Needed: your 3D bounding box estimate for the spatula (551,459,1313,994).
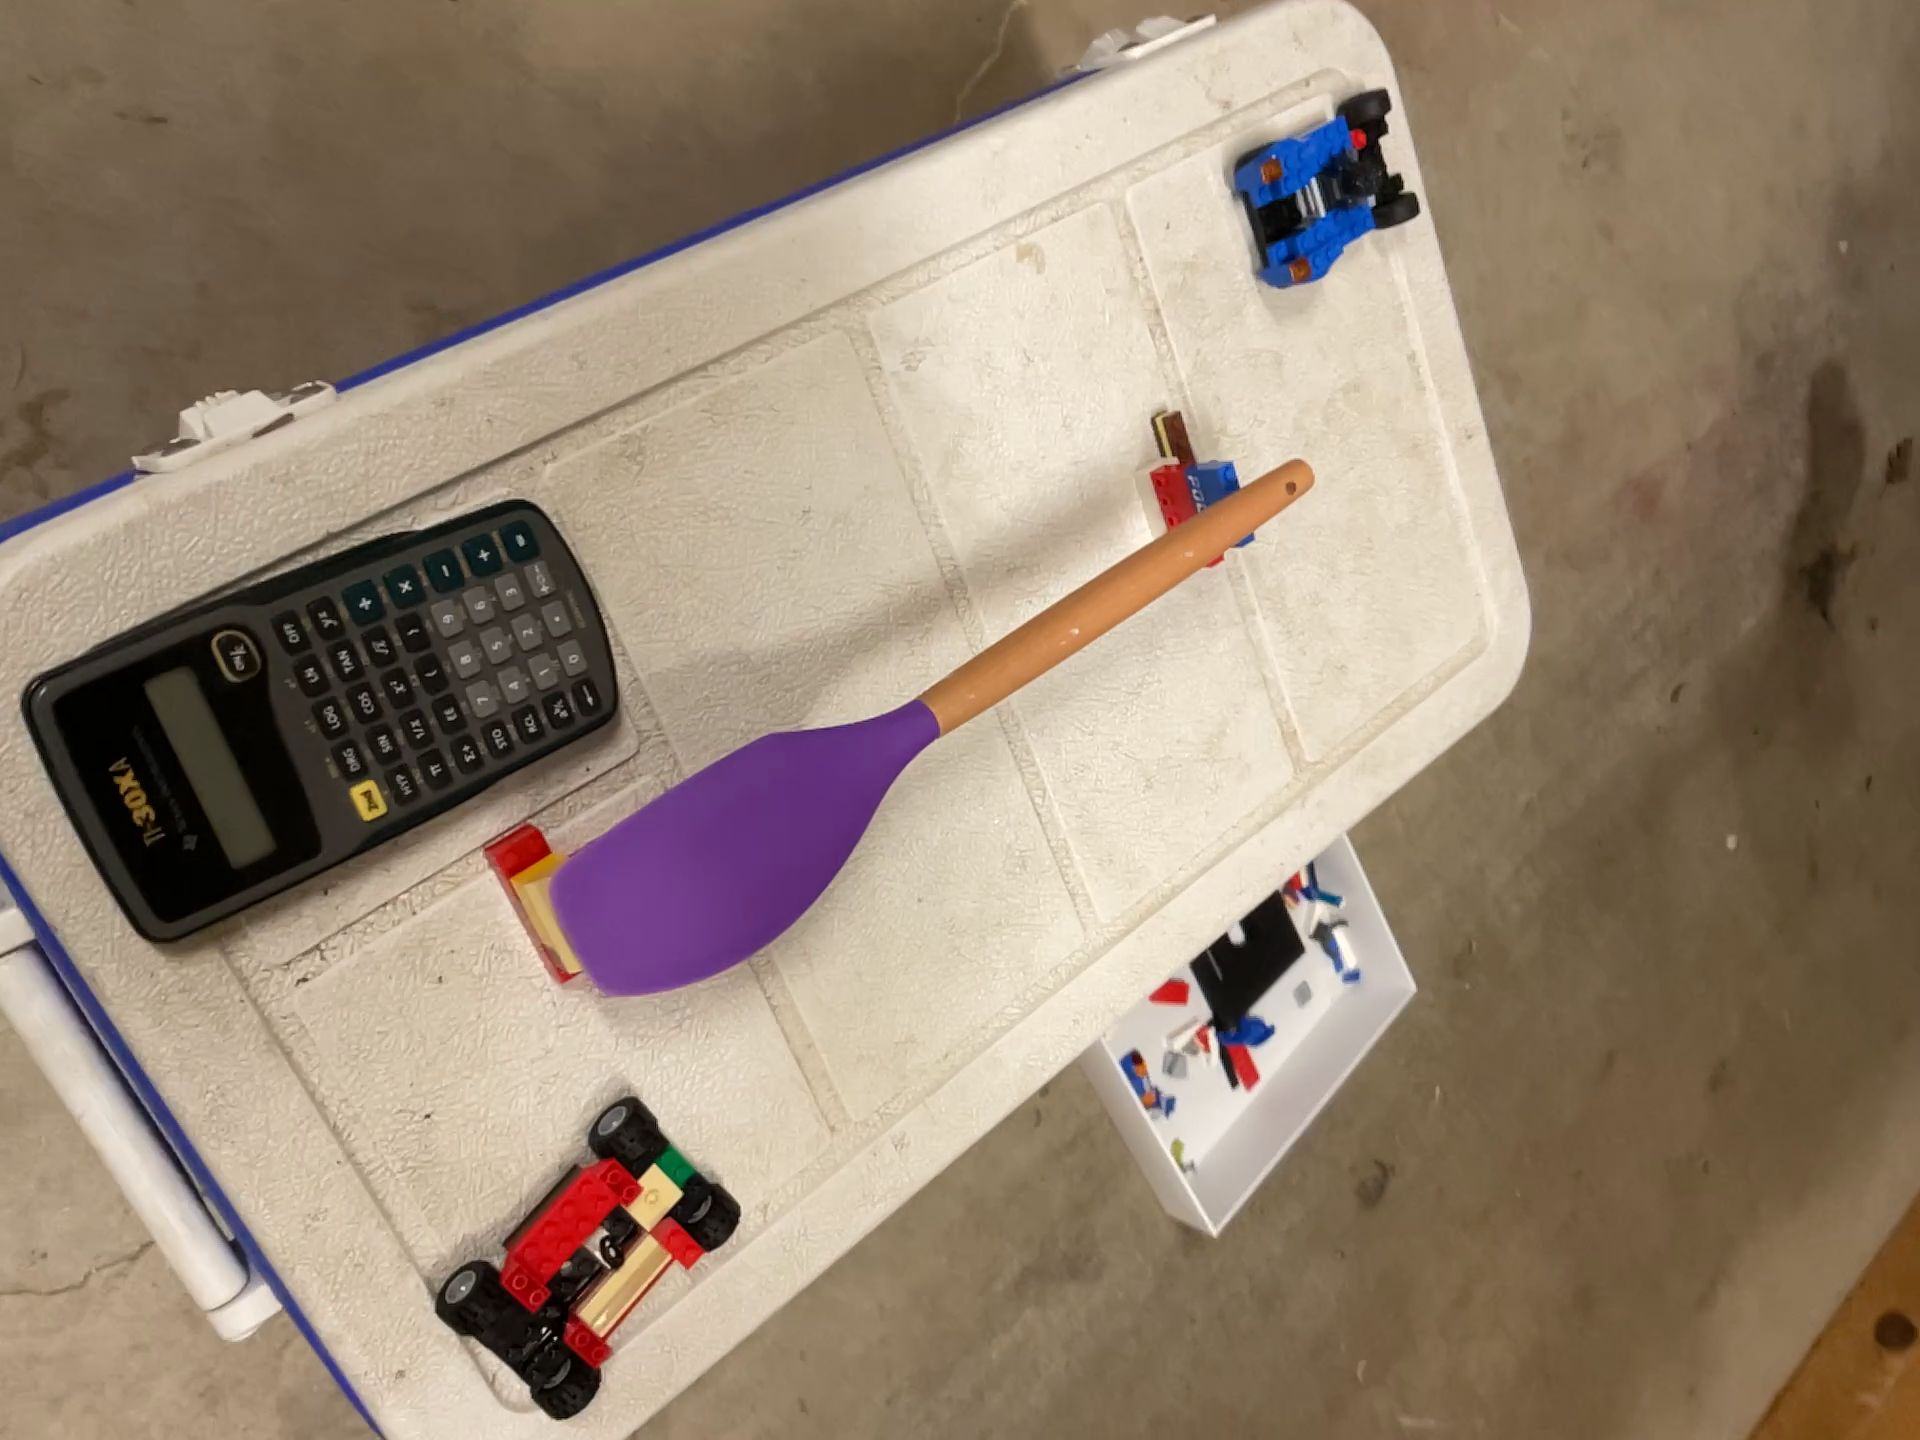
[{"bbox_3d":[0.010,-0.012,0.526,0.316,0.018,0.059,-34,113,-26],"label":"spatula"}]
